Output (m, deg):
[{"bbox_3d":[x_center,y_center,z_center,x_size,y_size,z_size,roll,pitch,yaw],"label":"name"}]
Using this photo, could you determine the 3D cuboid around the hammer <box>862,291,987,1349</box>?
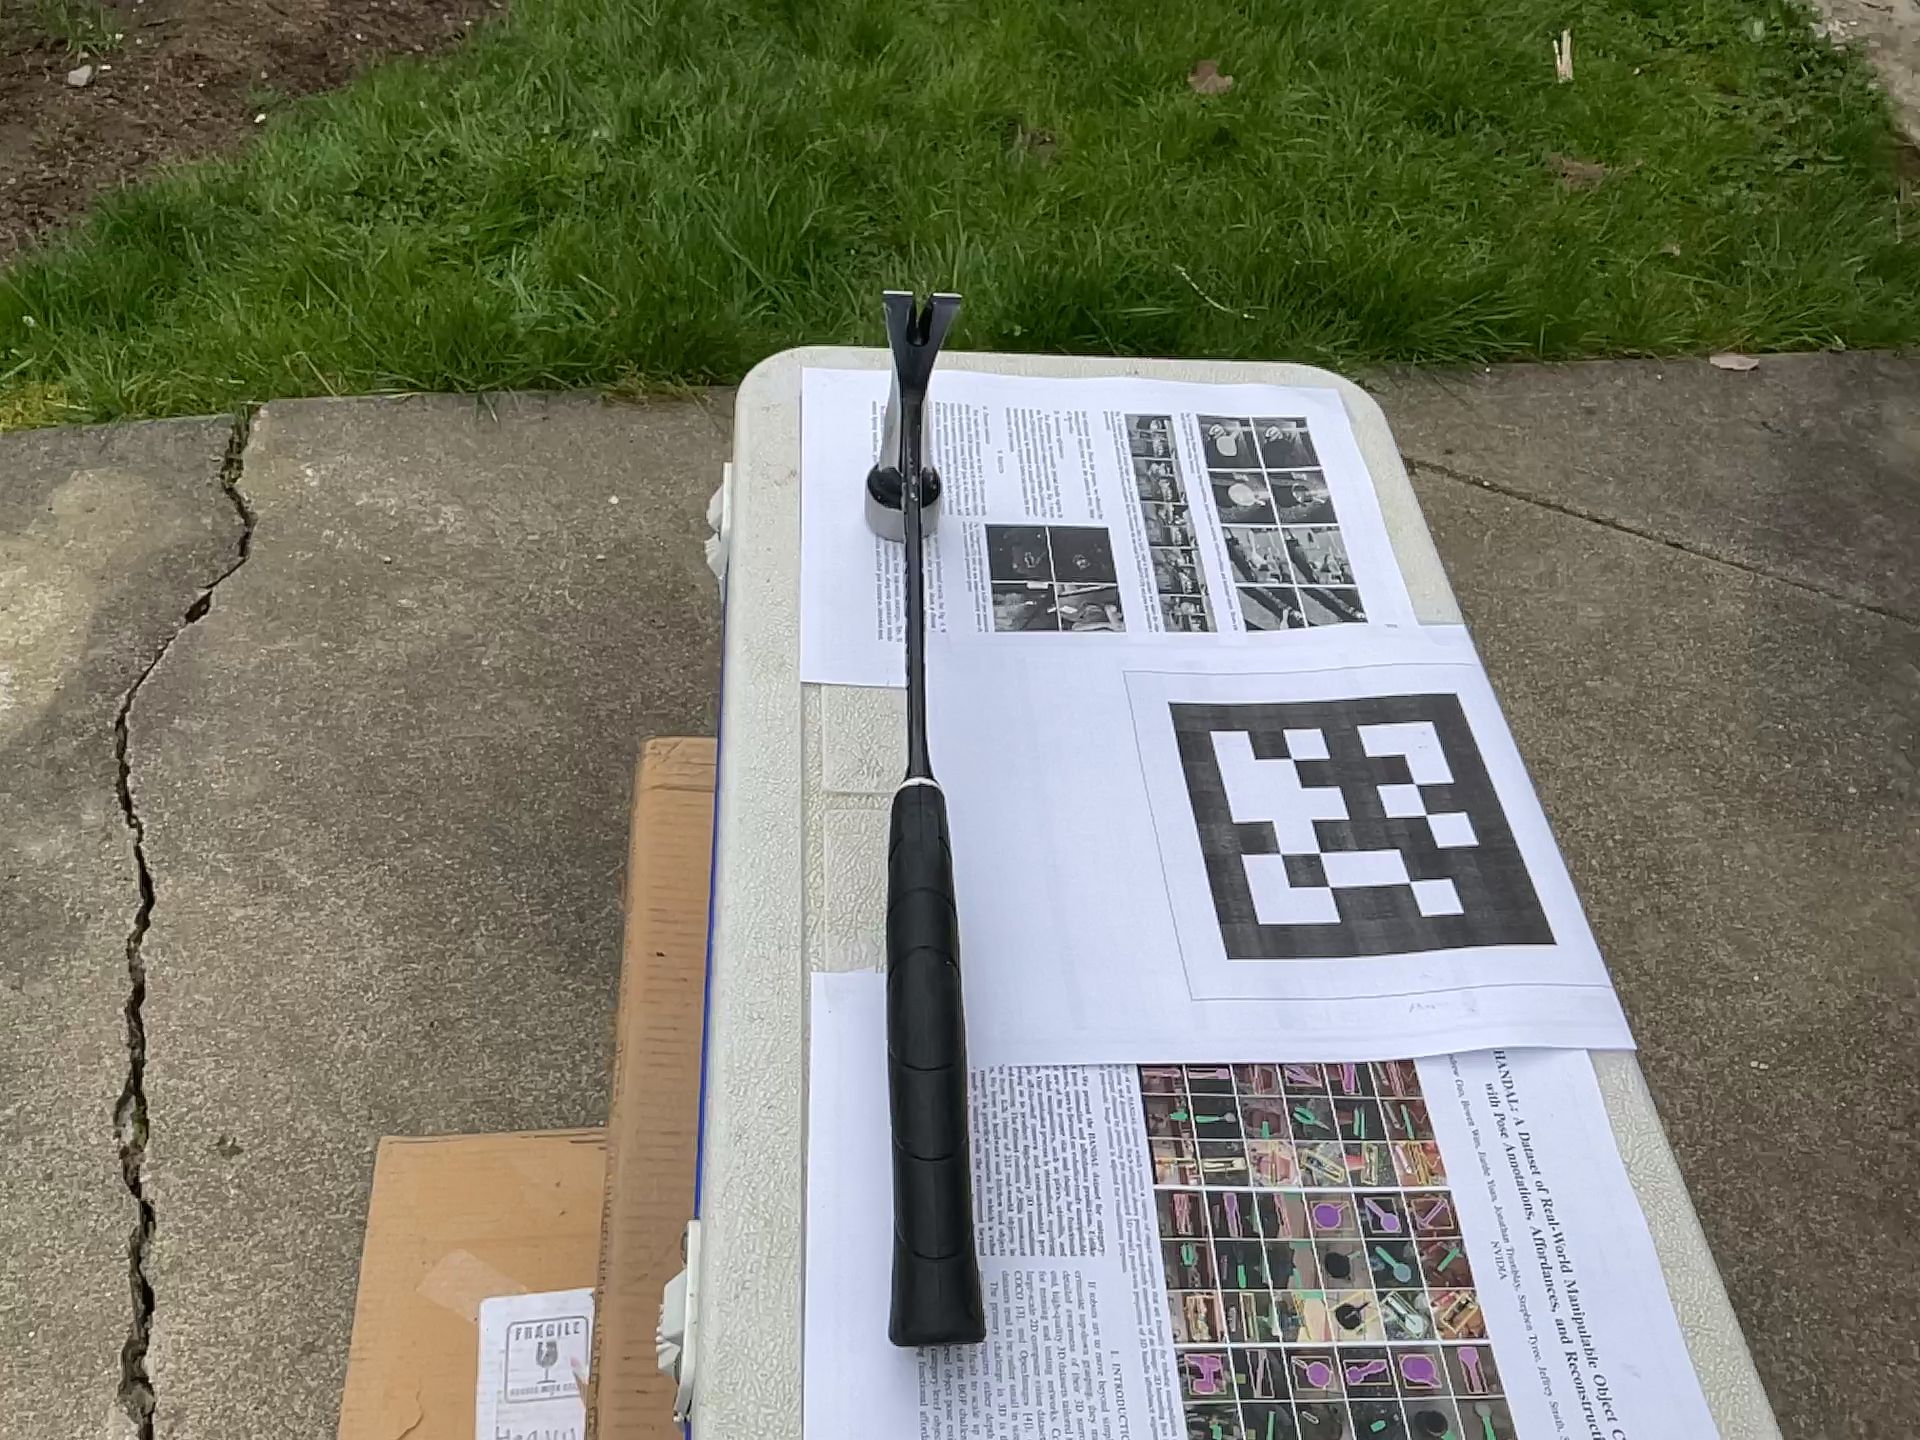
[{"bbox_3d":[-0.014,0.017,0.581,0.036,0.149,0.409,1,55,-5],"label":"hammer"}]
